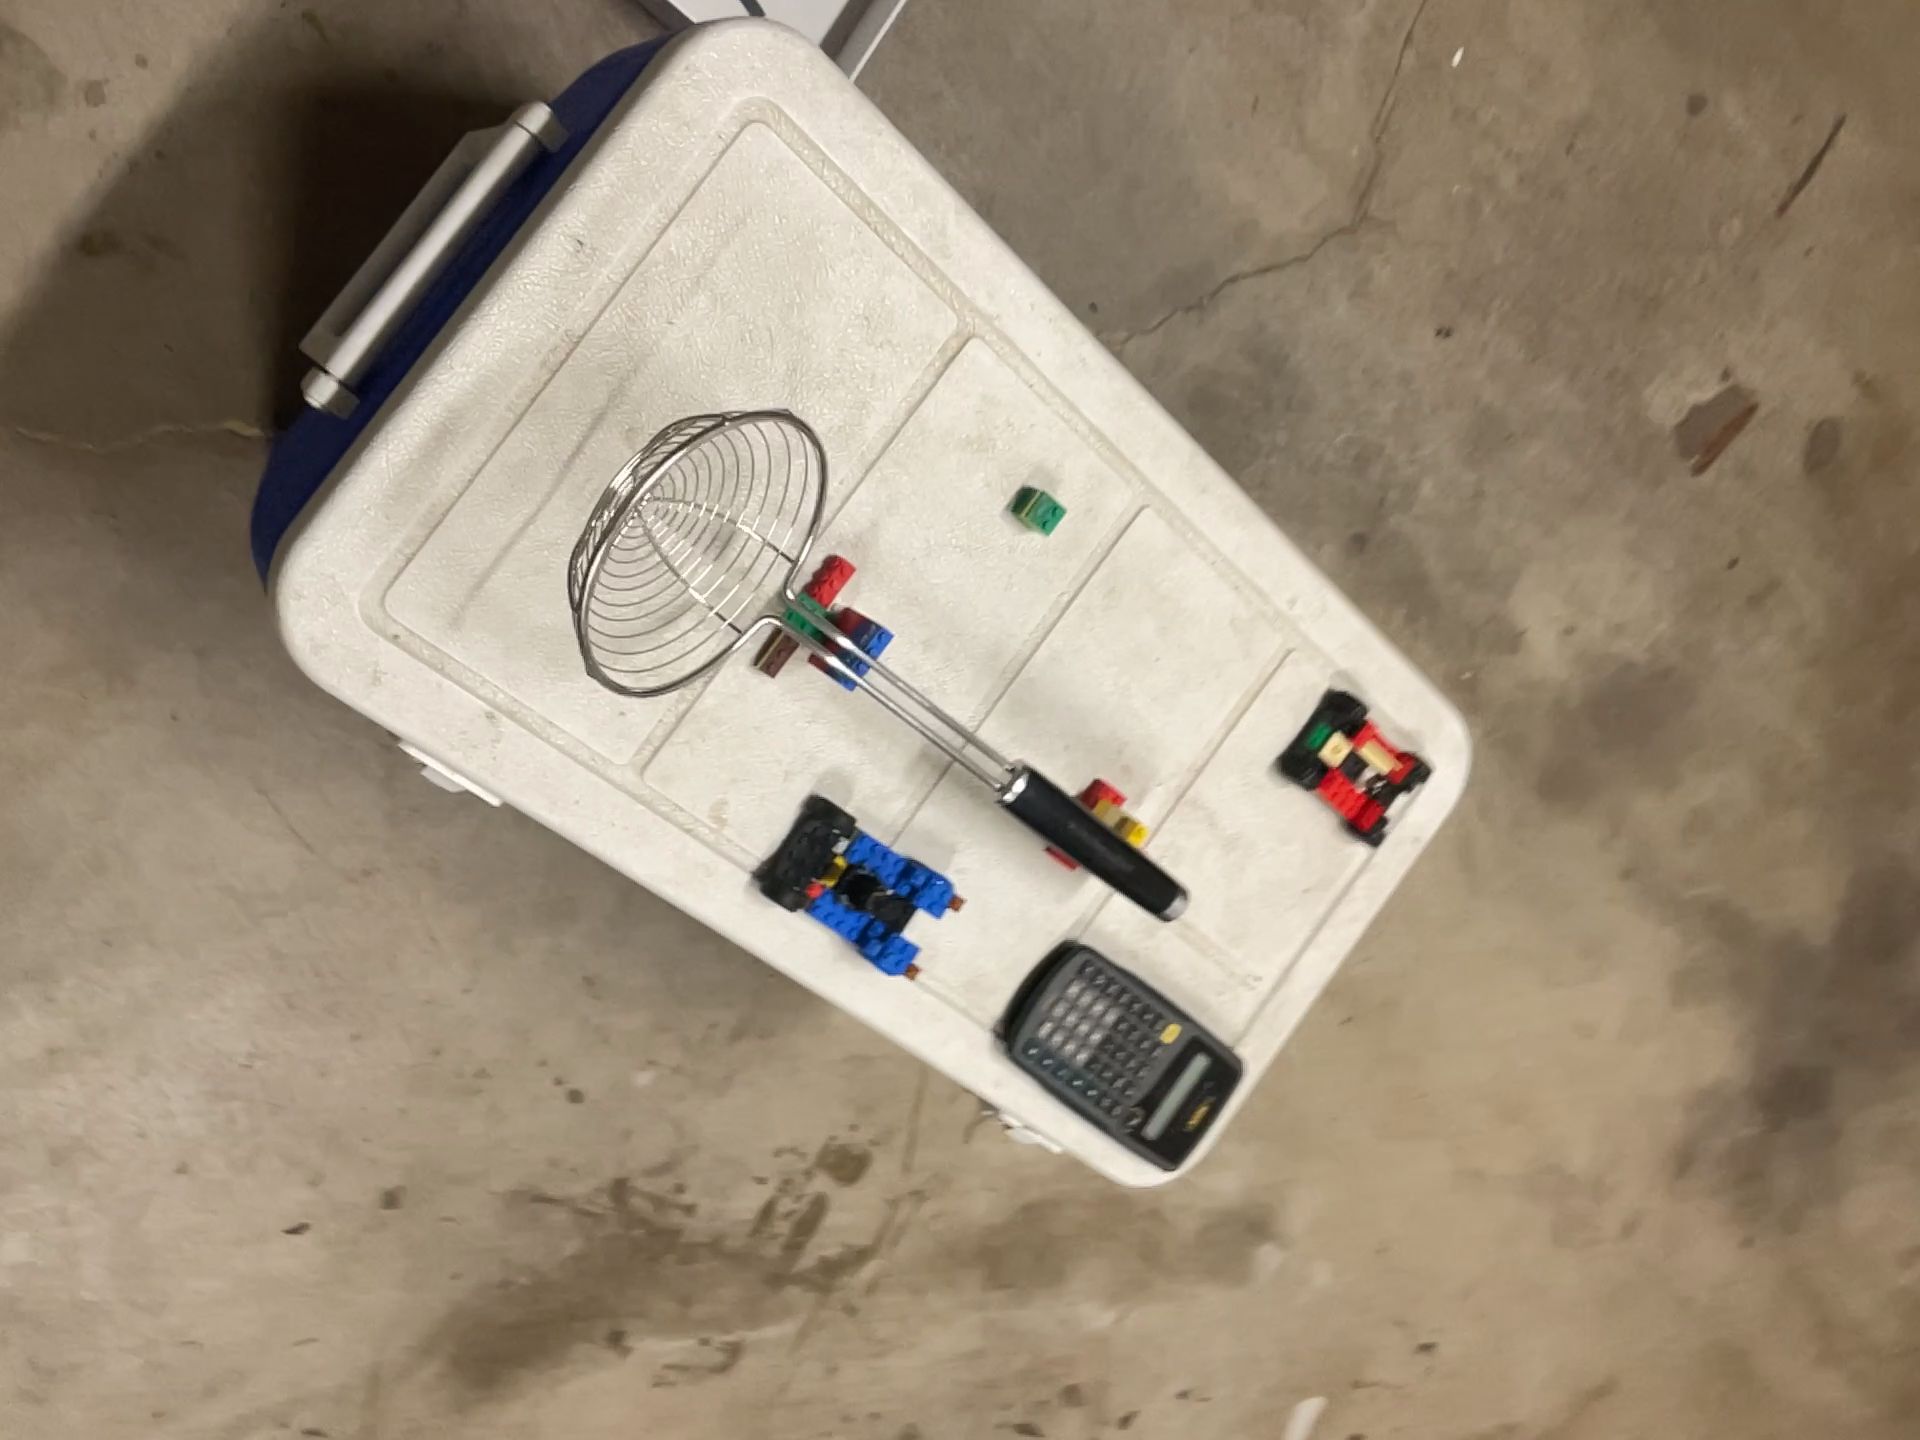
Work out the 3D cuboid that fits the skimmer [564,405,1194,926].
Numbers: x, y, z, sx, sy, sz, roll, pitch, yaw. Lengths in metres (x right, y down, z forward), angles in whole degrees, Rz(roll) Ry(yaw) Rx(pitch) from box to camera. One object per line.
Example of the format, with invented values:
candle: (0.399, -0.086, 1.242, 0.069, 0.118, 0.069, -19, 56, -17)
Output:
skimmer: (-0.007, 0.006, 0.666, 0.362, 0.090, 0.127, 37, 89, -30)
